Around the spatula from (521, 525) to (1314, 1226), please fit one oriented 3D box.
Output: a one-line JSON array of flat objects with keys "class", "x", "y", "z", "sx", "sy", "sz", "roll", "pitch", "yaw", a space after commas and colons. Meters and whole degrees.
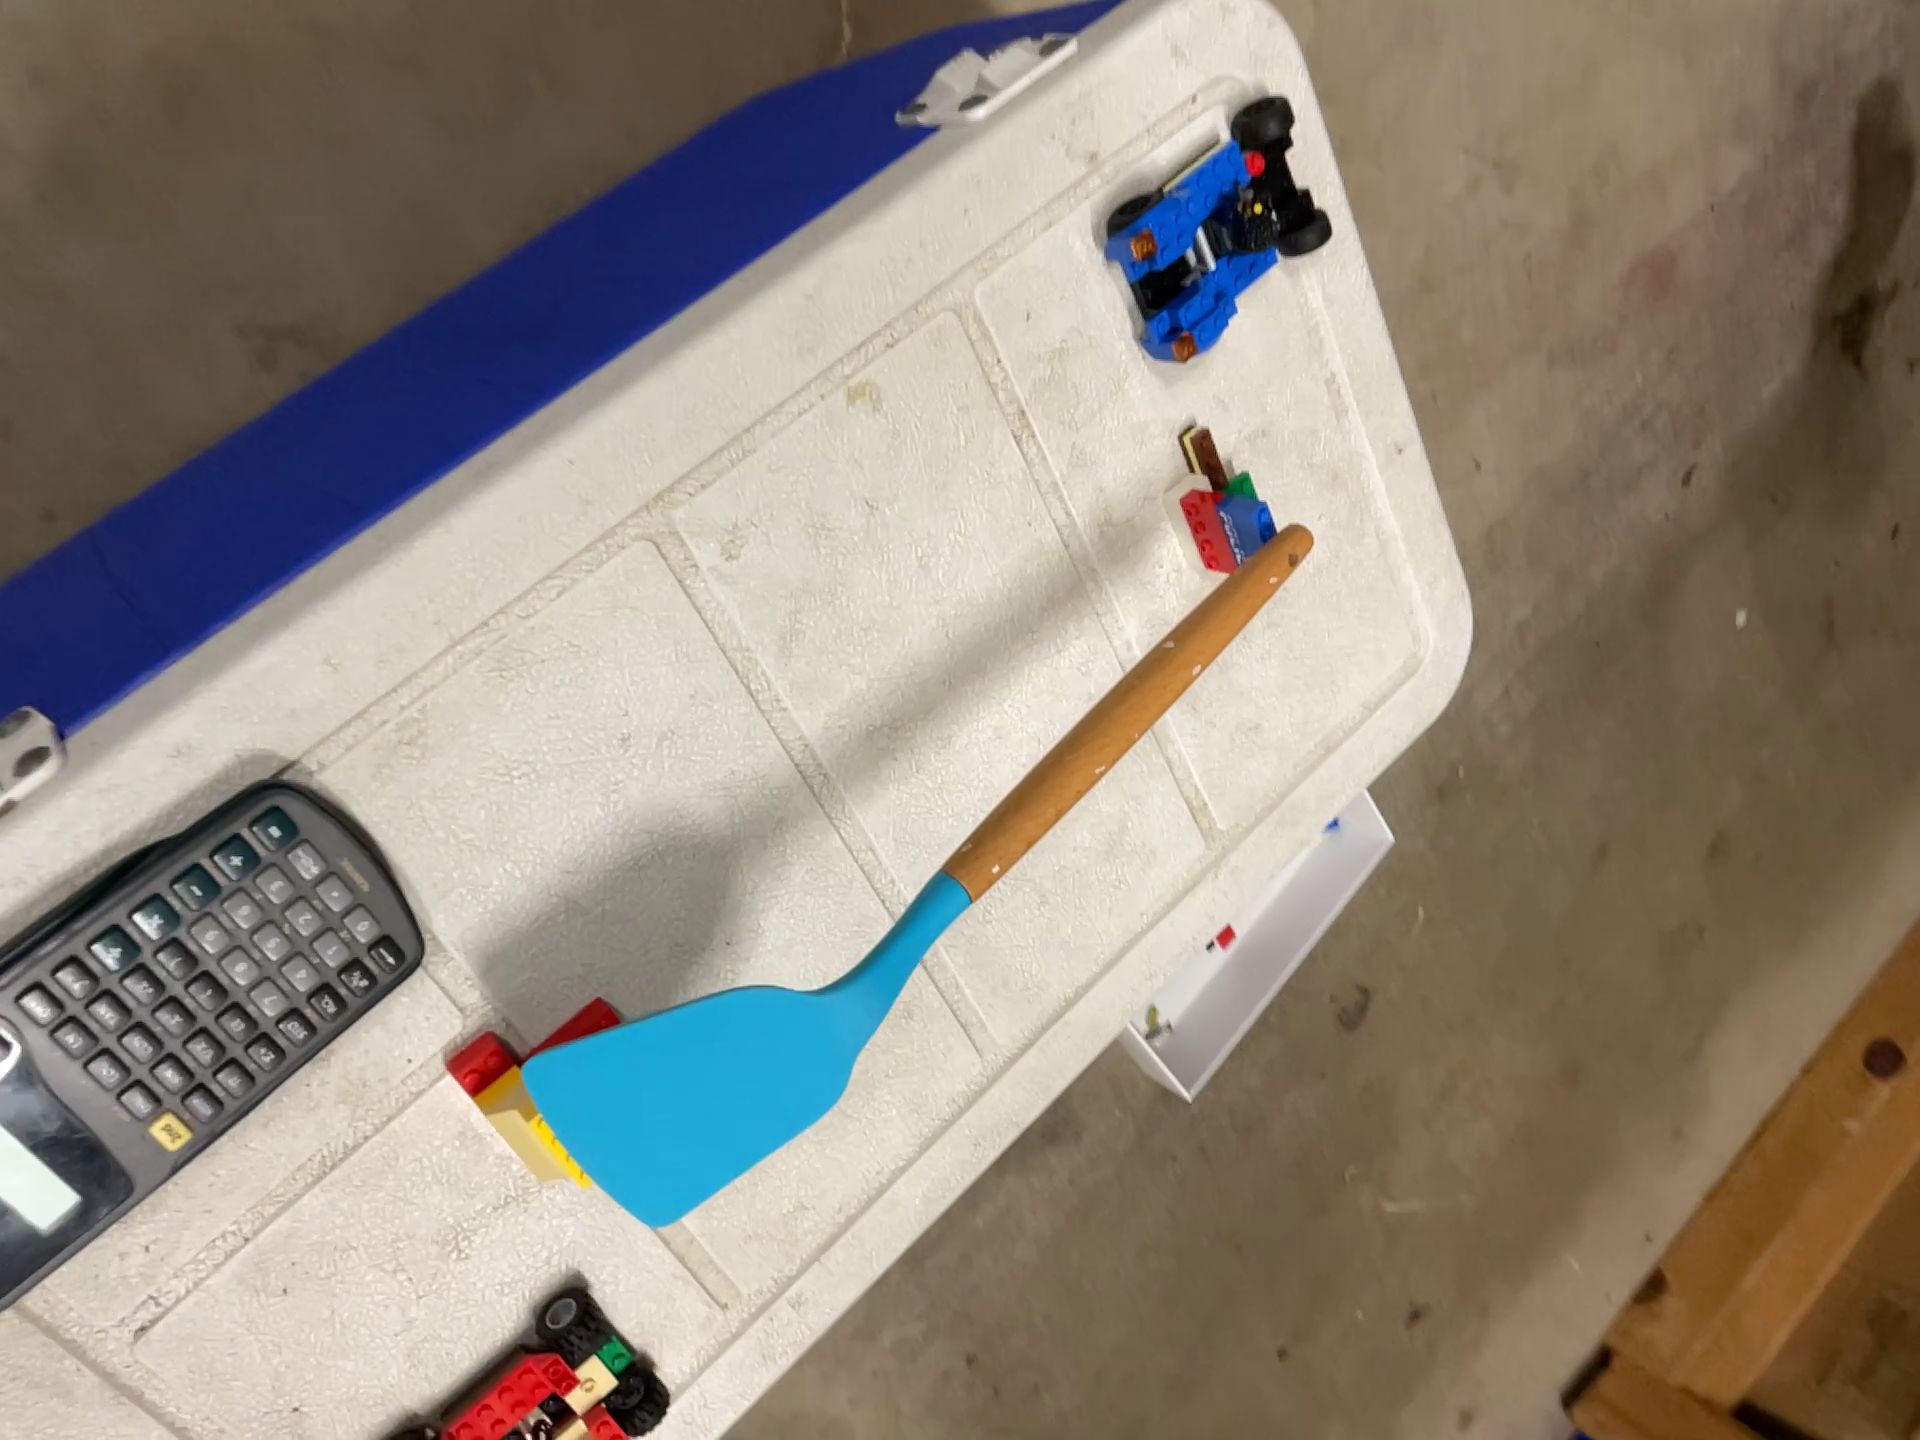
[{"class": "spatula", "x": 0.008, "y": 0.033, "z": 0.516, "sx": 0.318, "sy": 0.044, "sz": 0.082, "roll": -43, "pitch": 123, "yaw": -22}]
